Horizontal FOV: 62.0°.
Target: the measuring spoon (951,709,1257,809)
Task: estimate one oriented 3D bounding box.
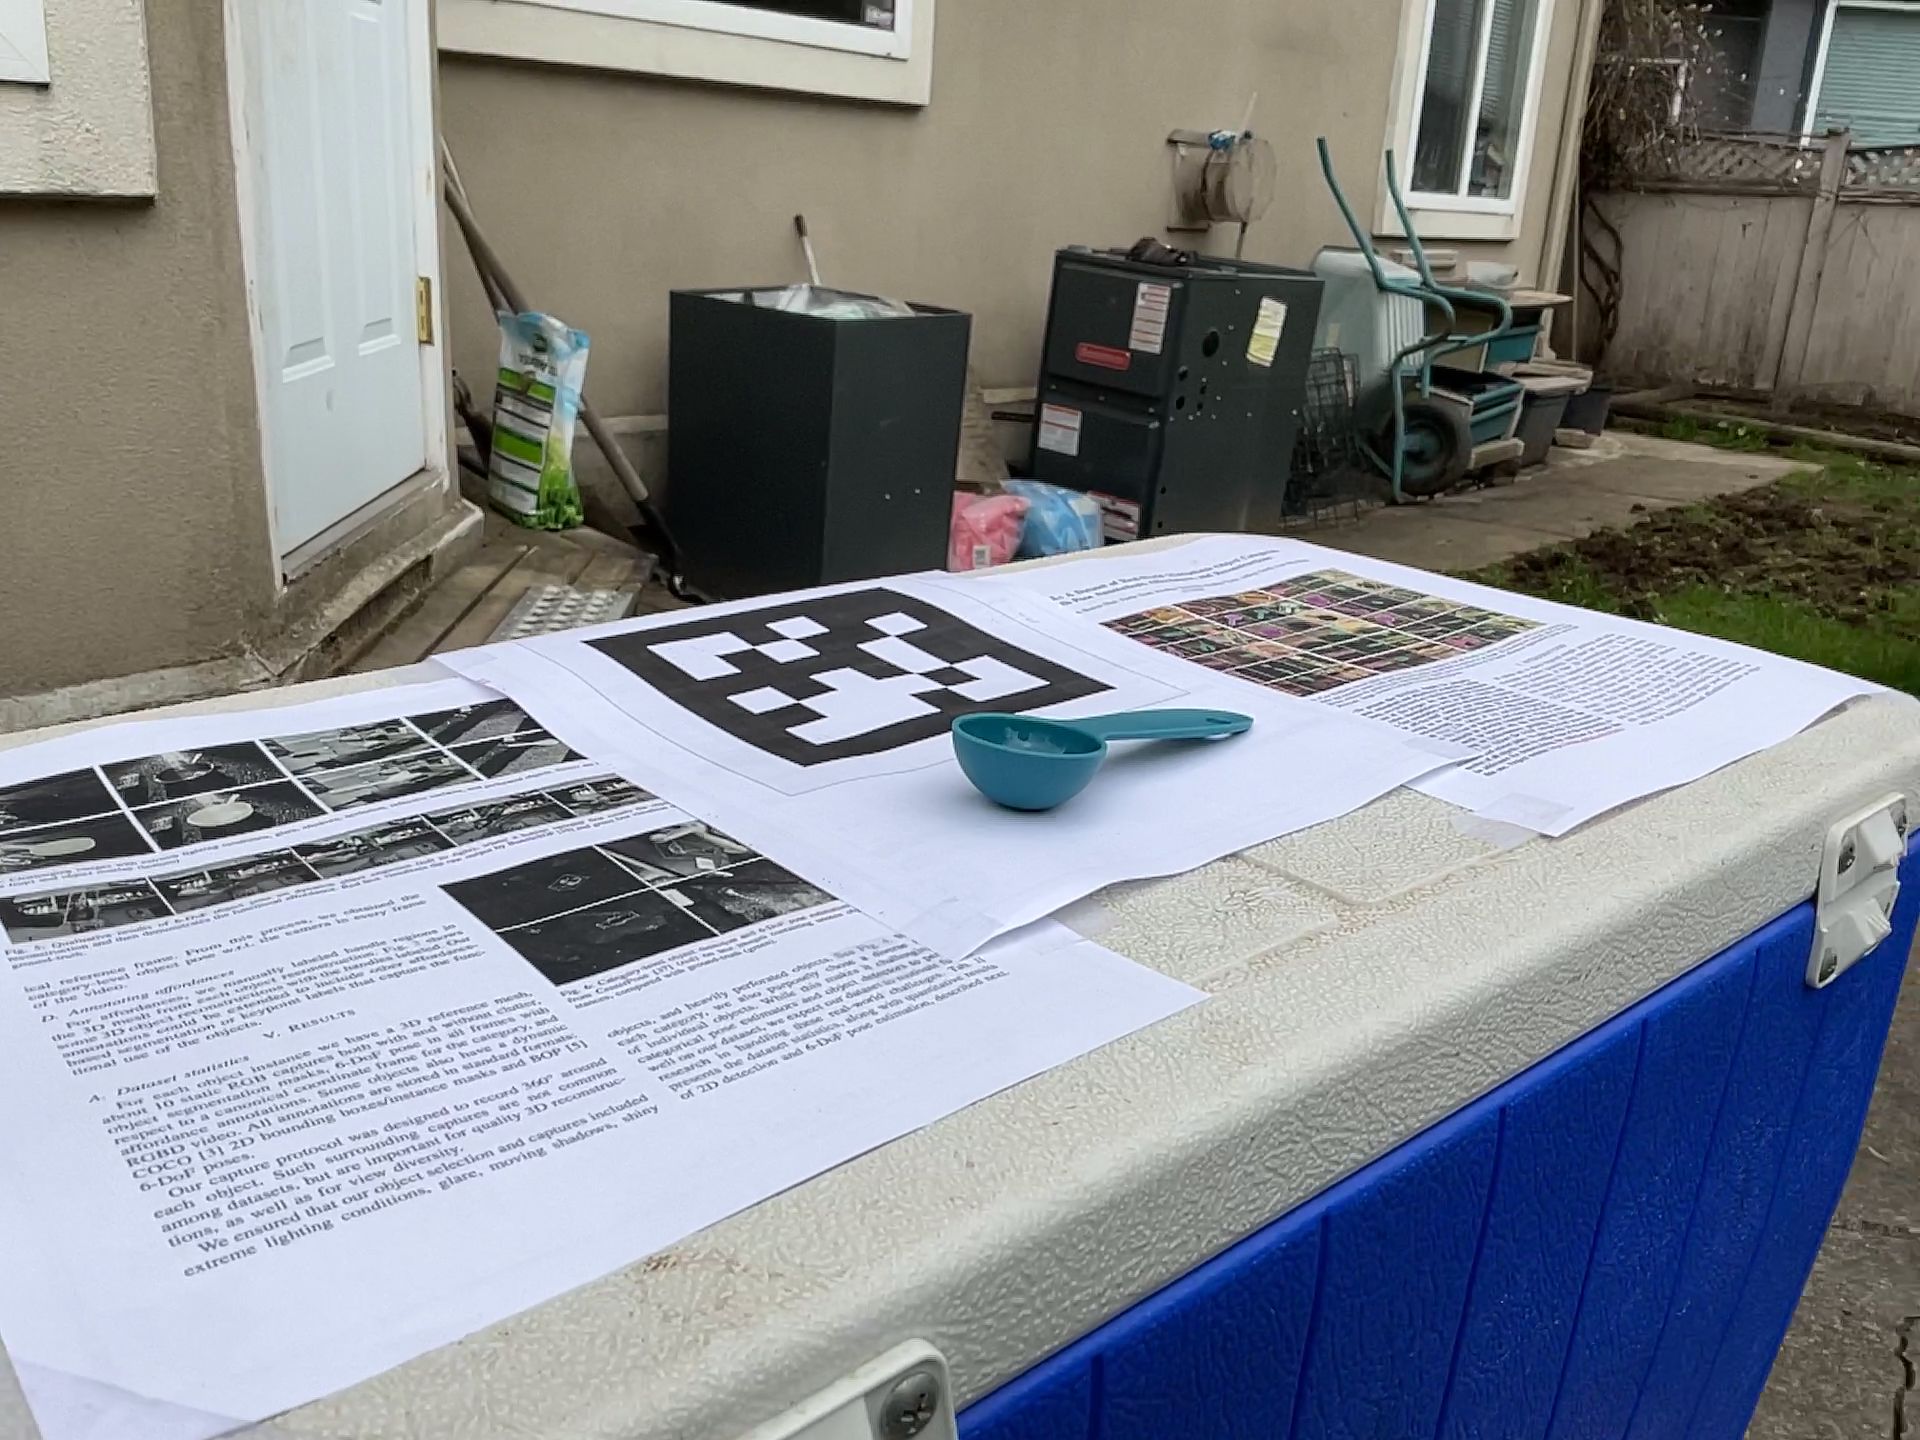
[{"bbox_3d":[0.047,0.011,0.465,0.042,0.021,0.128,20,16,41],"label":"measuring spoon"}]
